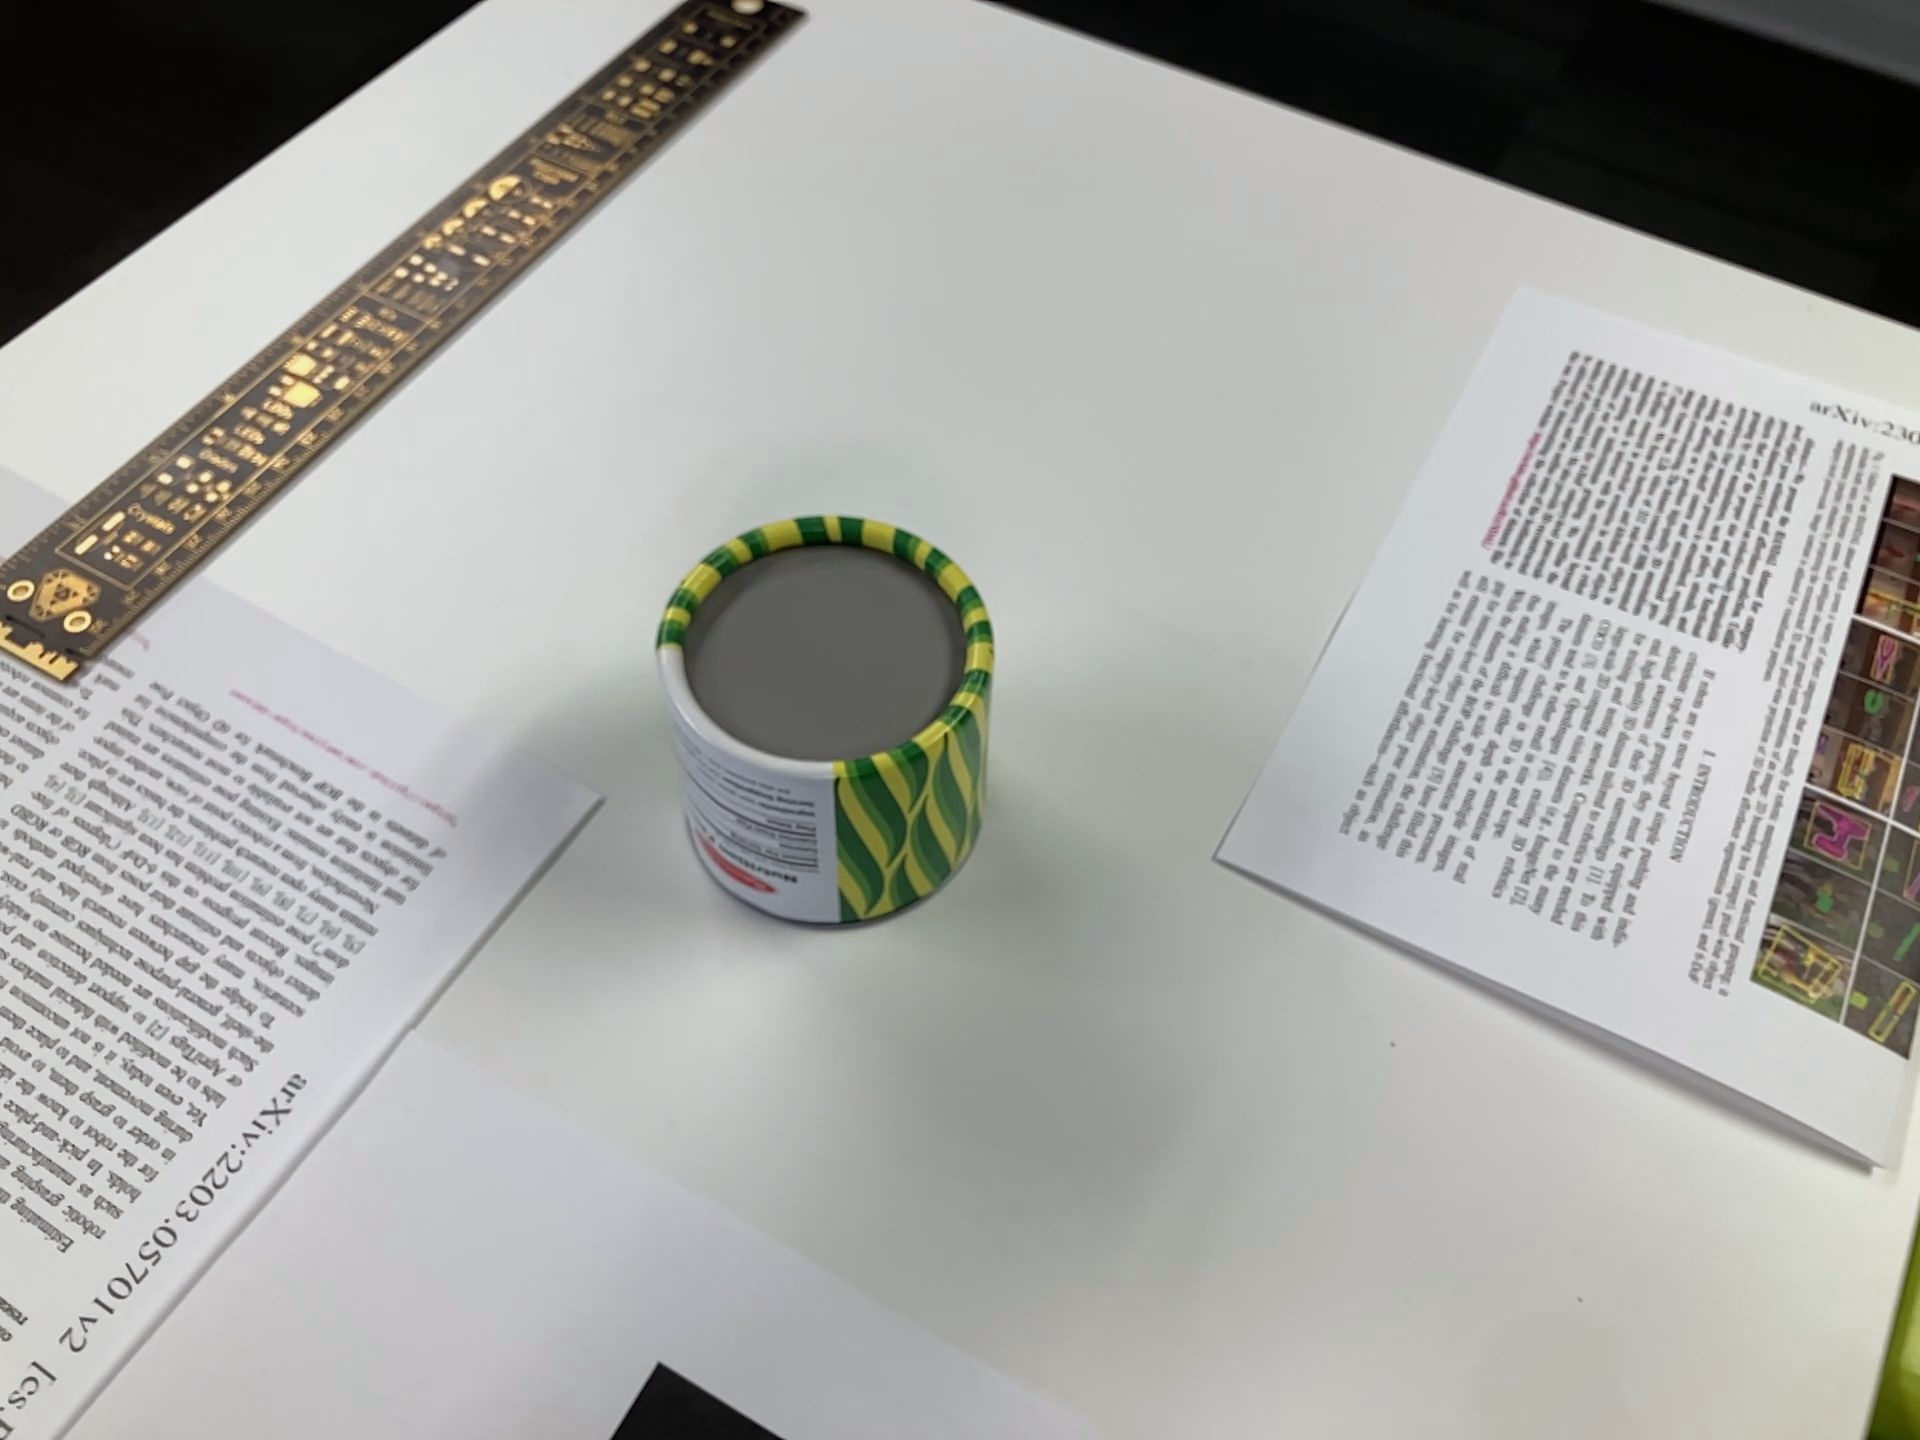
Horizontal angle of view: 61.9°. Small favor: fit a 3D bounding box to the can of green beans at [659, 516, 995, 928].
[{"bbox_3d":[-0.026,0.000,0.333,0.071,0.058,0.071,1,55,-1],"label":"can of green beans"}]
